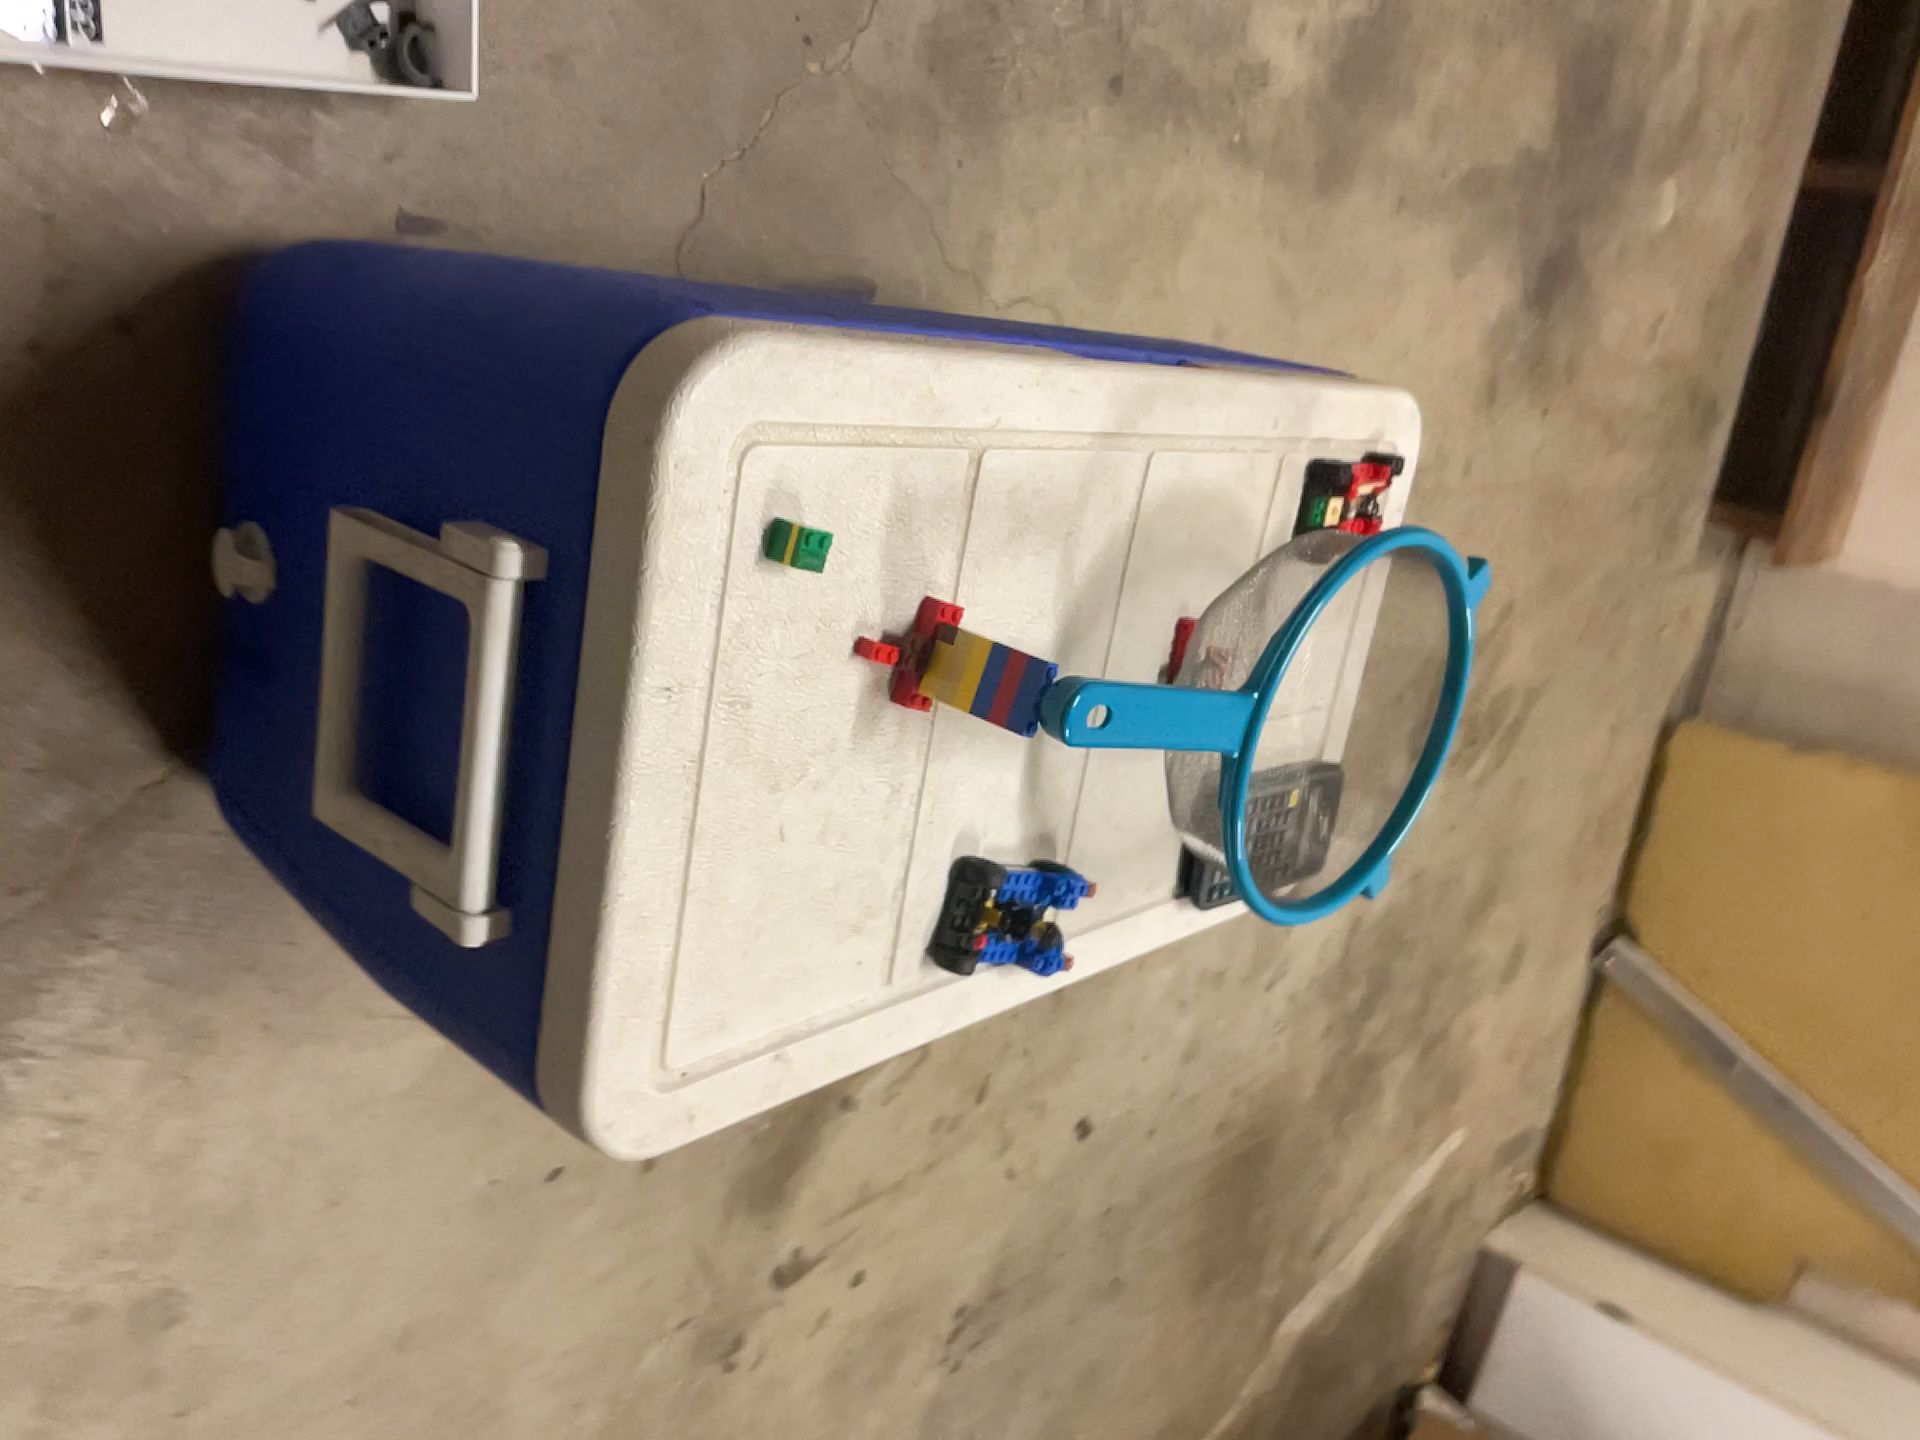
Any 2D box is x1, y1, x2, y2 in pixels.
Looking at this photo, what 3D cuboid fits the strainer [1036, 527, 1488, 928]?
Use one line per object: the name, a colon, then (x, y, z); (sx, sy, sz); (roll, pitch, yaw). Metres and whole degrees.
strainer: (0.127, -0.009, 0.780); (0.340, 0.095, 0.211); (3, 107, -47)
